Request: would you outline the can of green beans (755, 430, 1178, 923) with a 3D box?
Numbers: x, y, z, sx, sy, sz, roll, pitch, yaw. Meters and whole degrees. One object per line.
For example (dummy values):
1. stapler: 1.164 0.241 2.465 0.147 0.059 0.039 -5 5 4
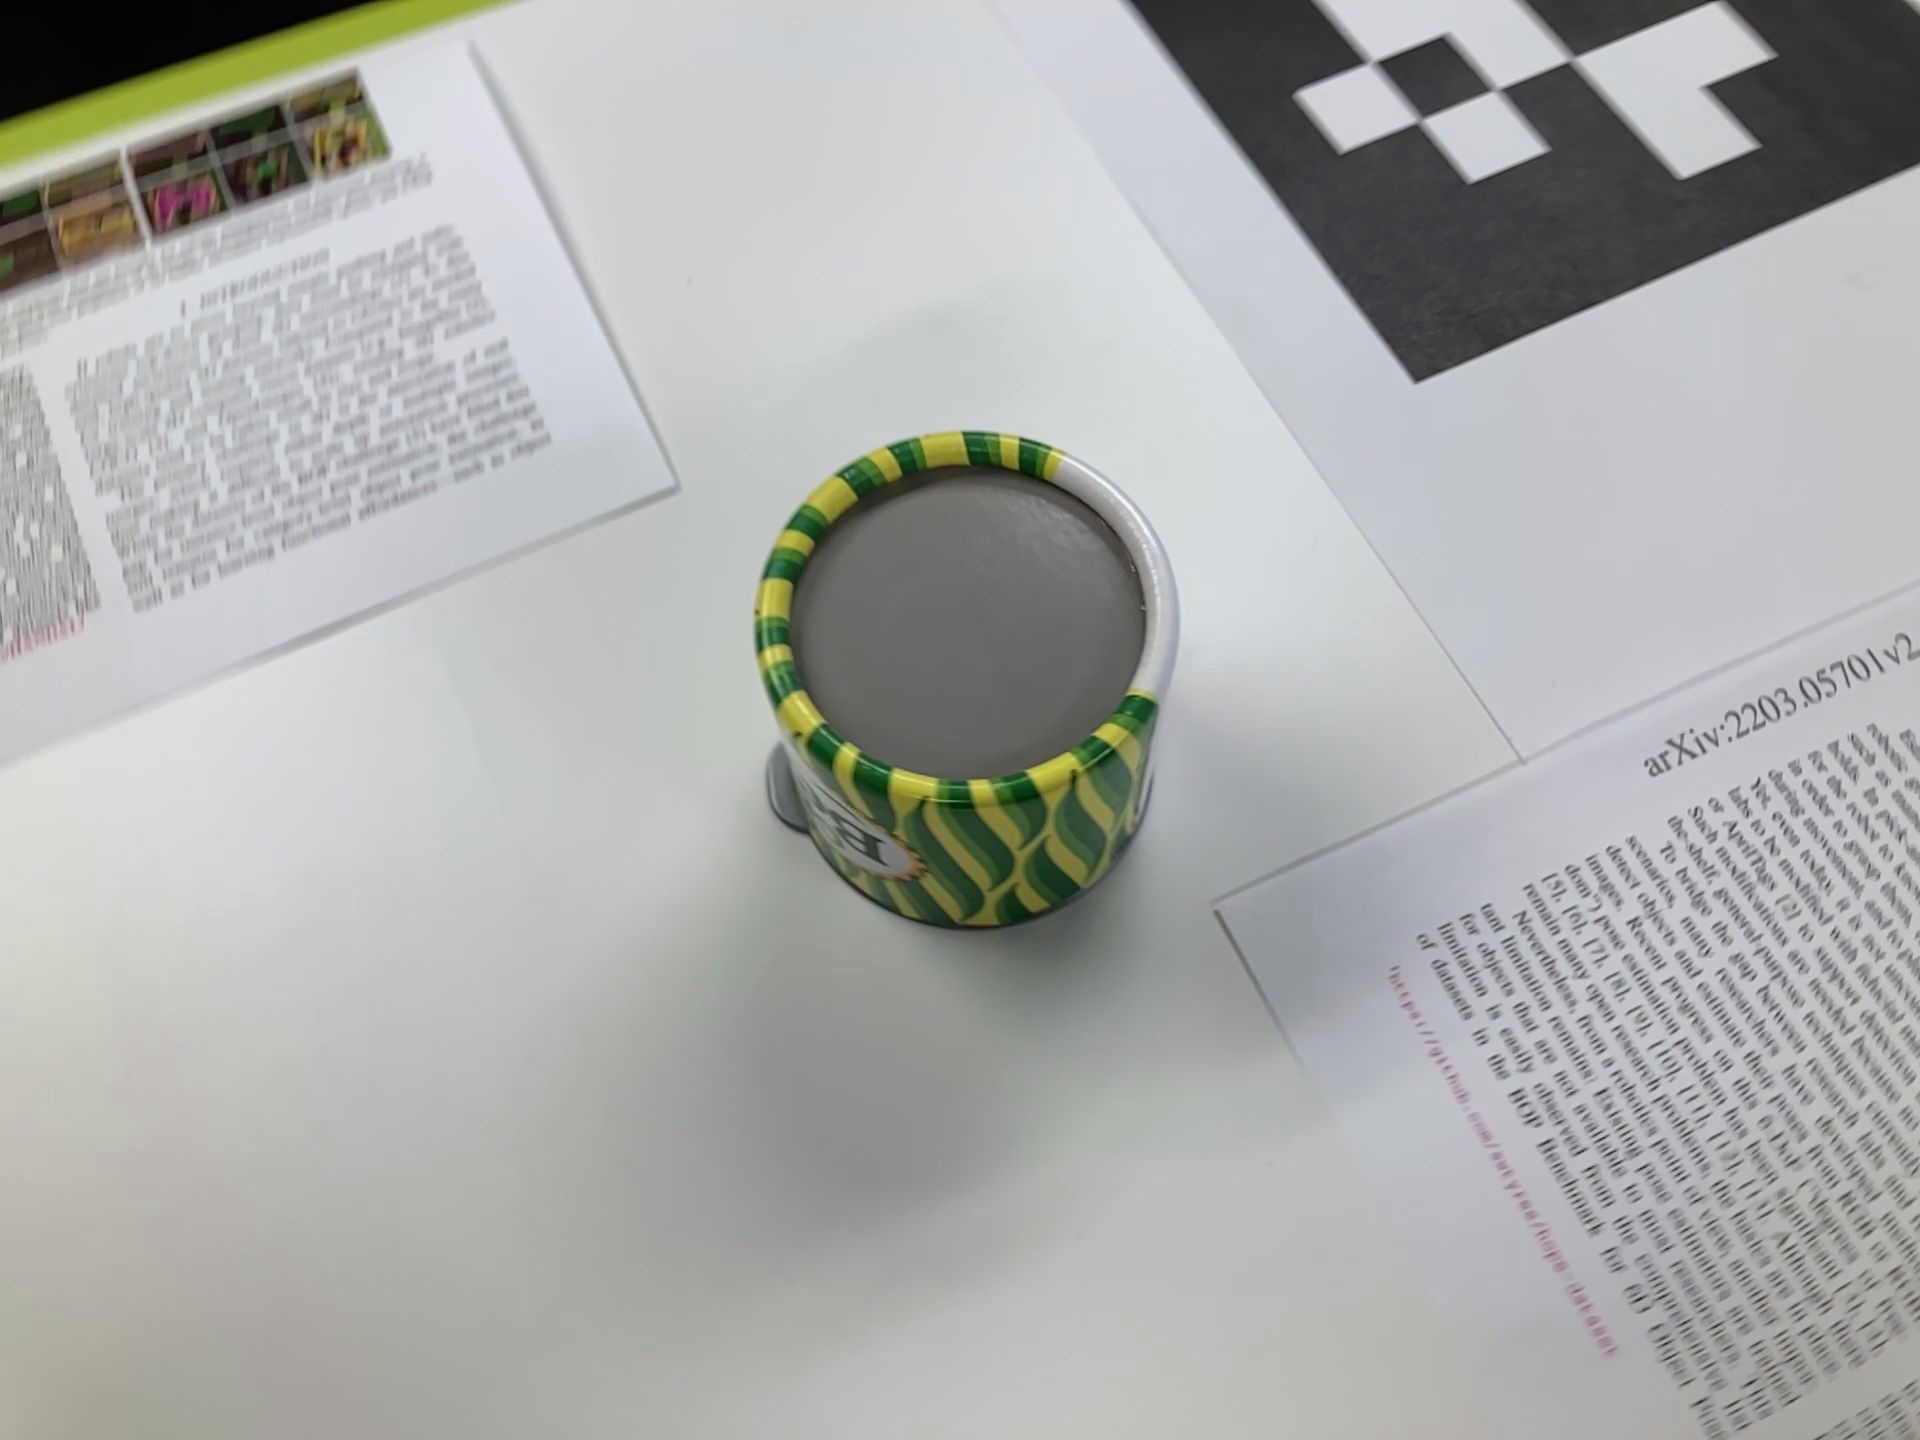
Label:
1. can of green beans: 0.001 -0.006 0.270 0.071 0.058 0.071 -1 65 2
